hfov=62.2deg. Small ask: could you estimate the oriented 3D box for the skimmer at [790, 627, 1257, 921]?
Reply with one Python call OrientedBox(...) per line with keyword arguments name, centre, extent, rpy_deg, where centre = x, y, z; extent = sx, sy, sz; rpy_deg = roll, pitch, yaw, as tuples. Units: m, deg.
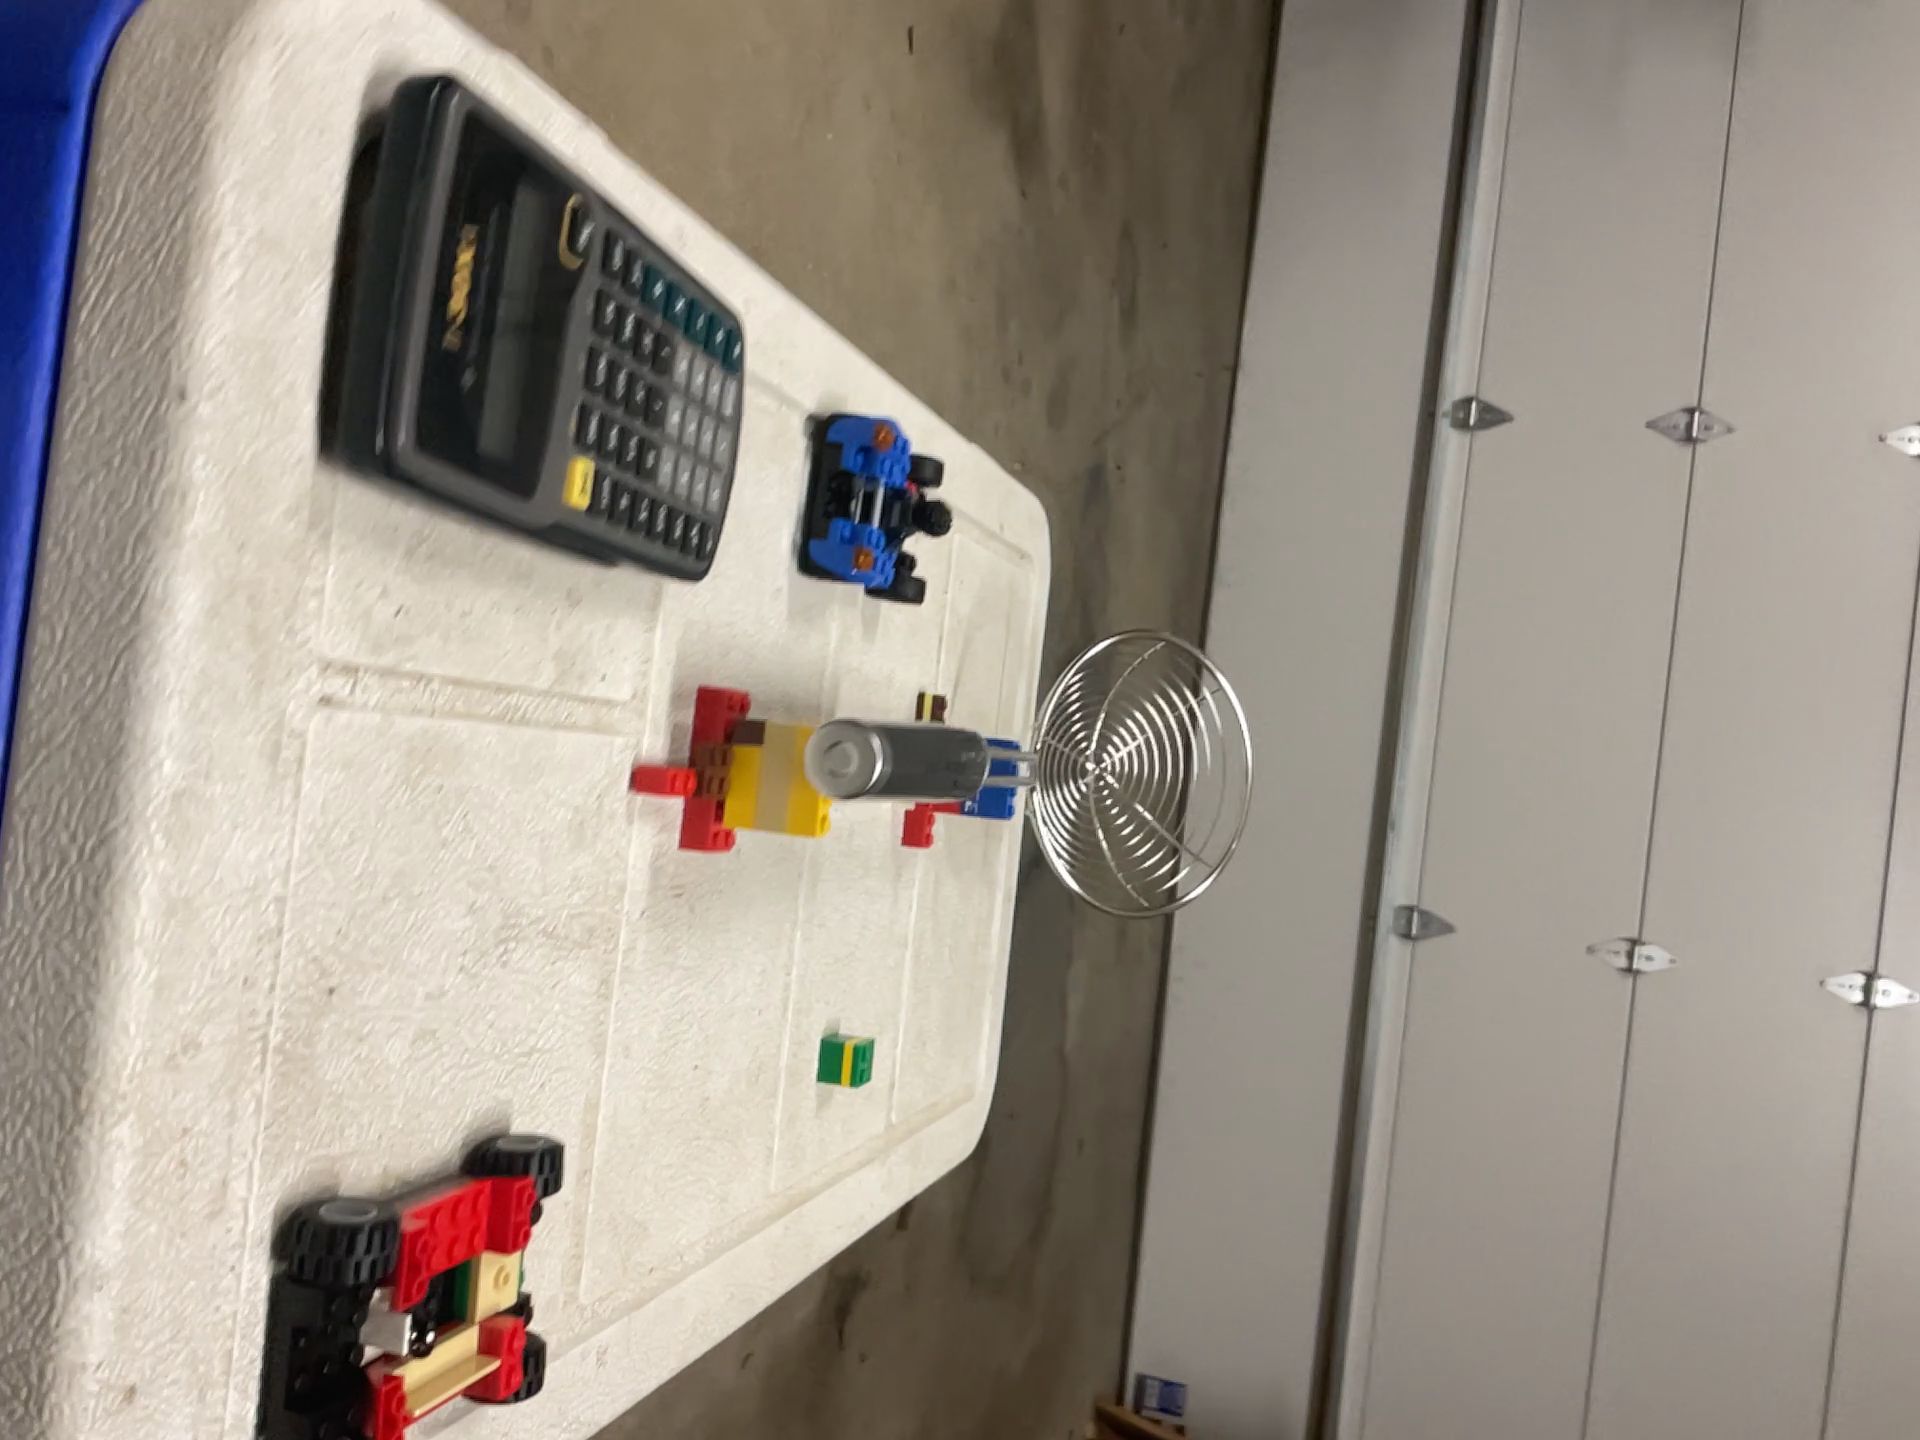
OrientedBox(name="skimmer", centre=(0.044, 0.018, 0.569), extent=(0.363, 0.090, 0.127), rpy_deg=(9, 85, -74))
